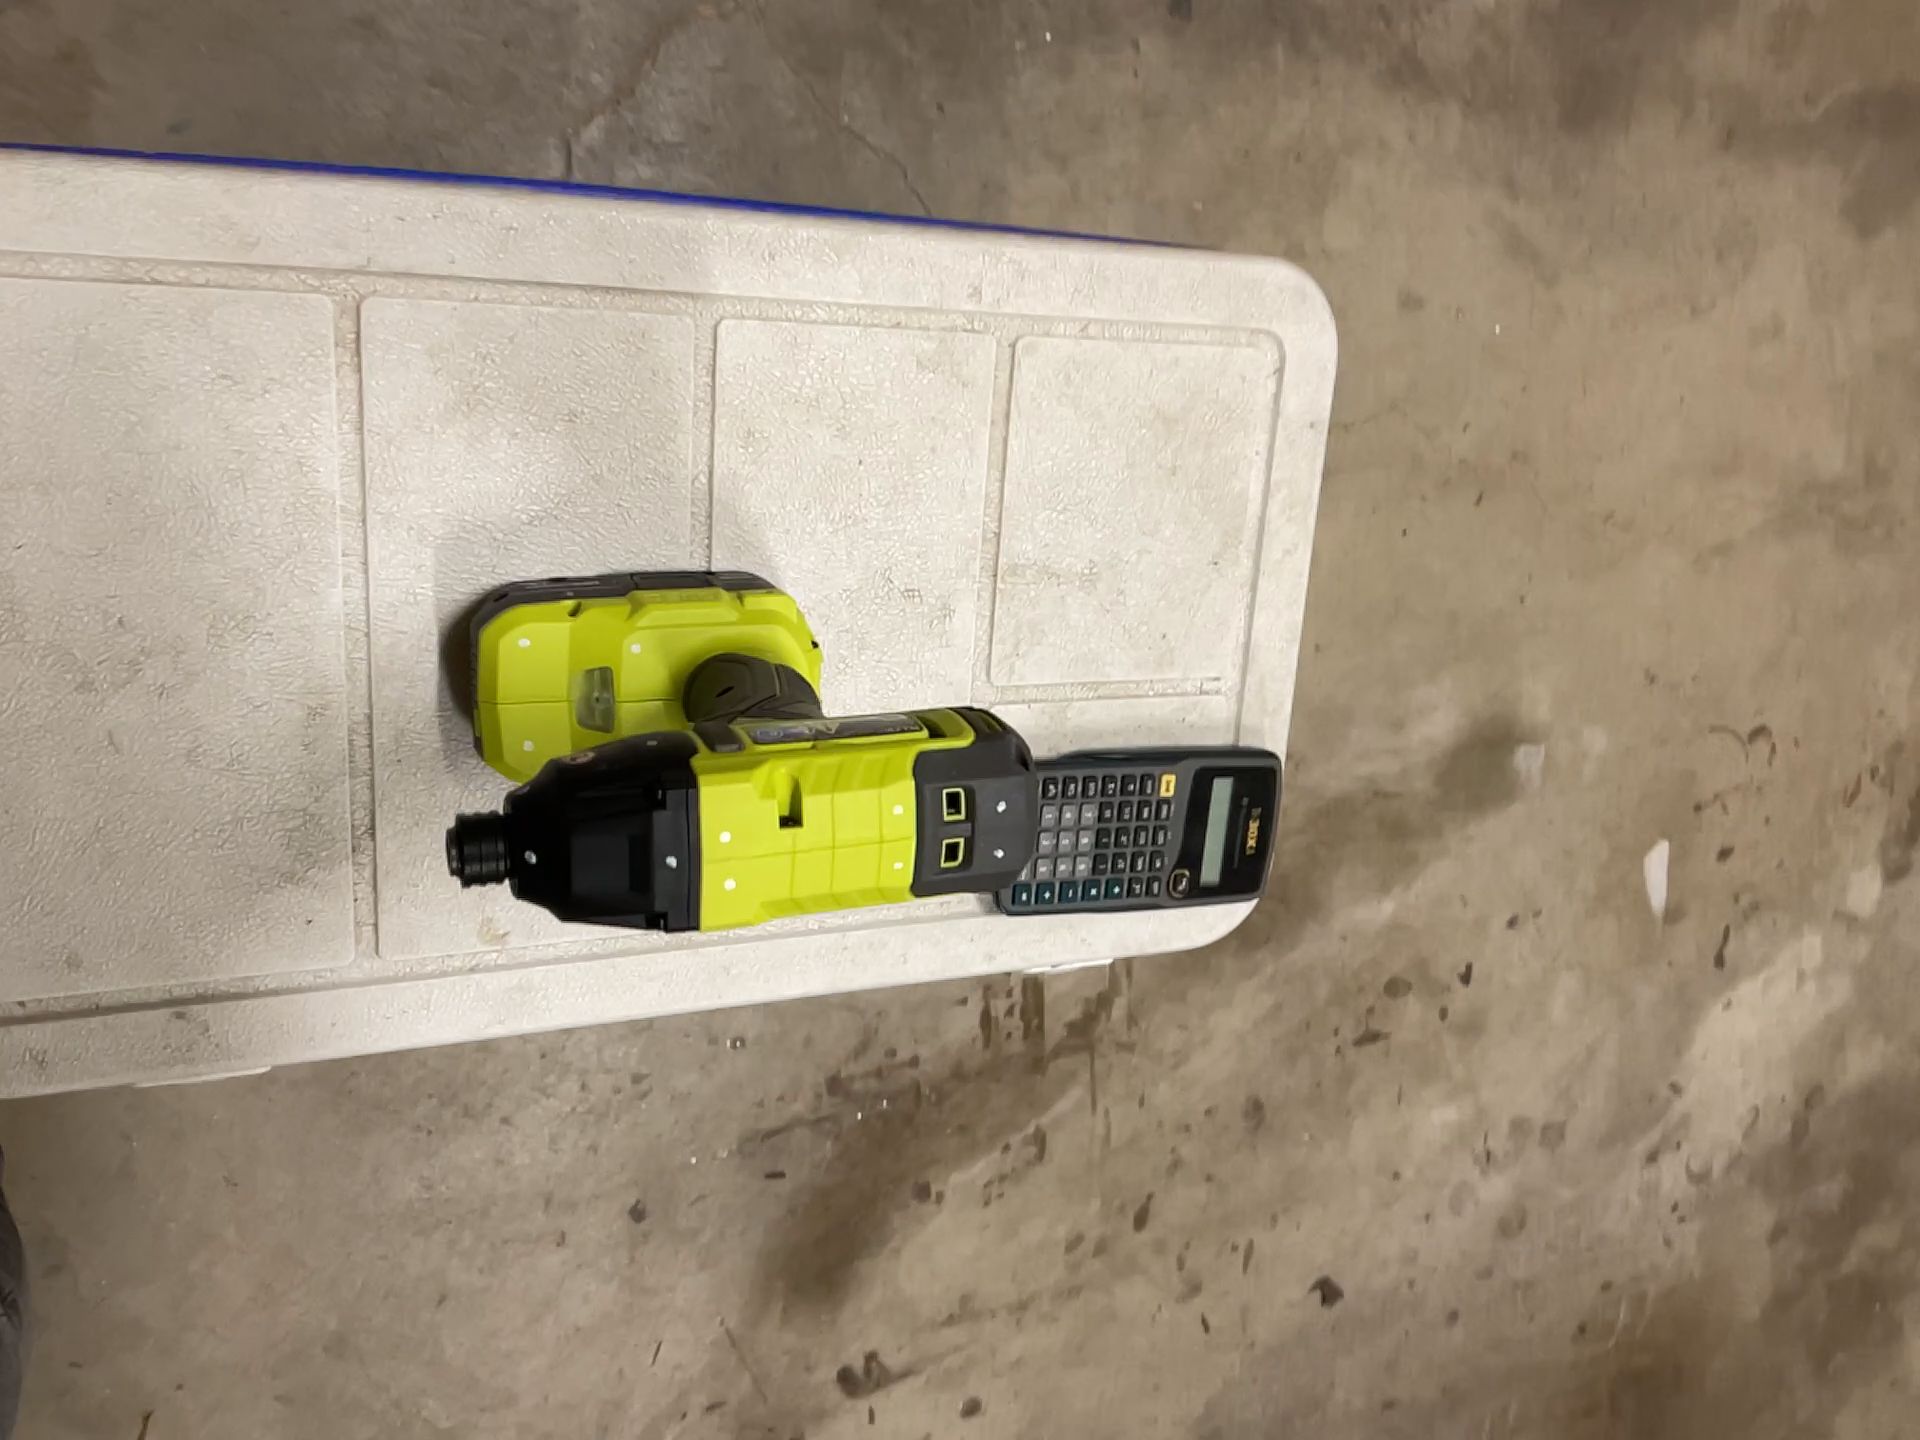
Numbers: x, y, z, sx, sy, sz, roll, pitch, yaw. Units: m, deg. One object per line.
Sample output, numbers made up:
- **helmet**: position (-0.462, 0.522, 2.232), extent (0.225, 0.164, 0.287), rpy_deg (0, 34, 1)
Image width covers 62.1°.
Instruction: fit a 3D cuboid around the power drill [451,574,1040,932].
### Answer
- **power drill**: position (-0.095, 0.008, 0.553), extent (0.171, 0.223, 0.080), rpy_deg (-5, 107, -22)
